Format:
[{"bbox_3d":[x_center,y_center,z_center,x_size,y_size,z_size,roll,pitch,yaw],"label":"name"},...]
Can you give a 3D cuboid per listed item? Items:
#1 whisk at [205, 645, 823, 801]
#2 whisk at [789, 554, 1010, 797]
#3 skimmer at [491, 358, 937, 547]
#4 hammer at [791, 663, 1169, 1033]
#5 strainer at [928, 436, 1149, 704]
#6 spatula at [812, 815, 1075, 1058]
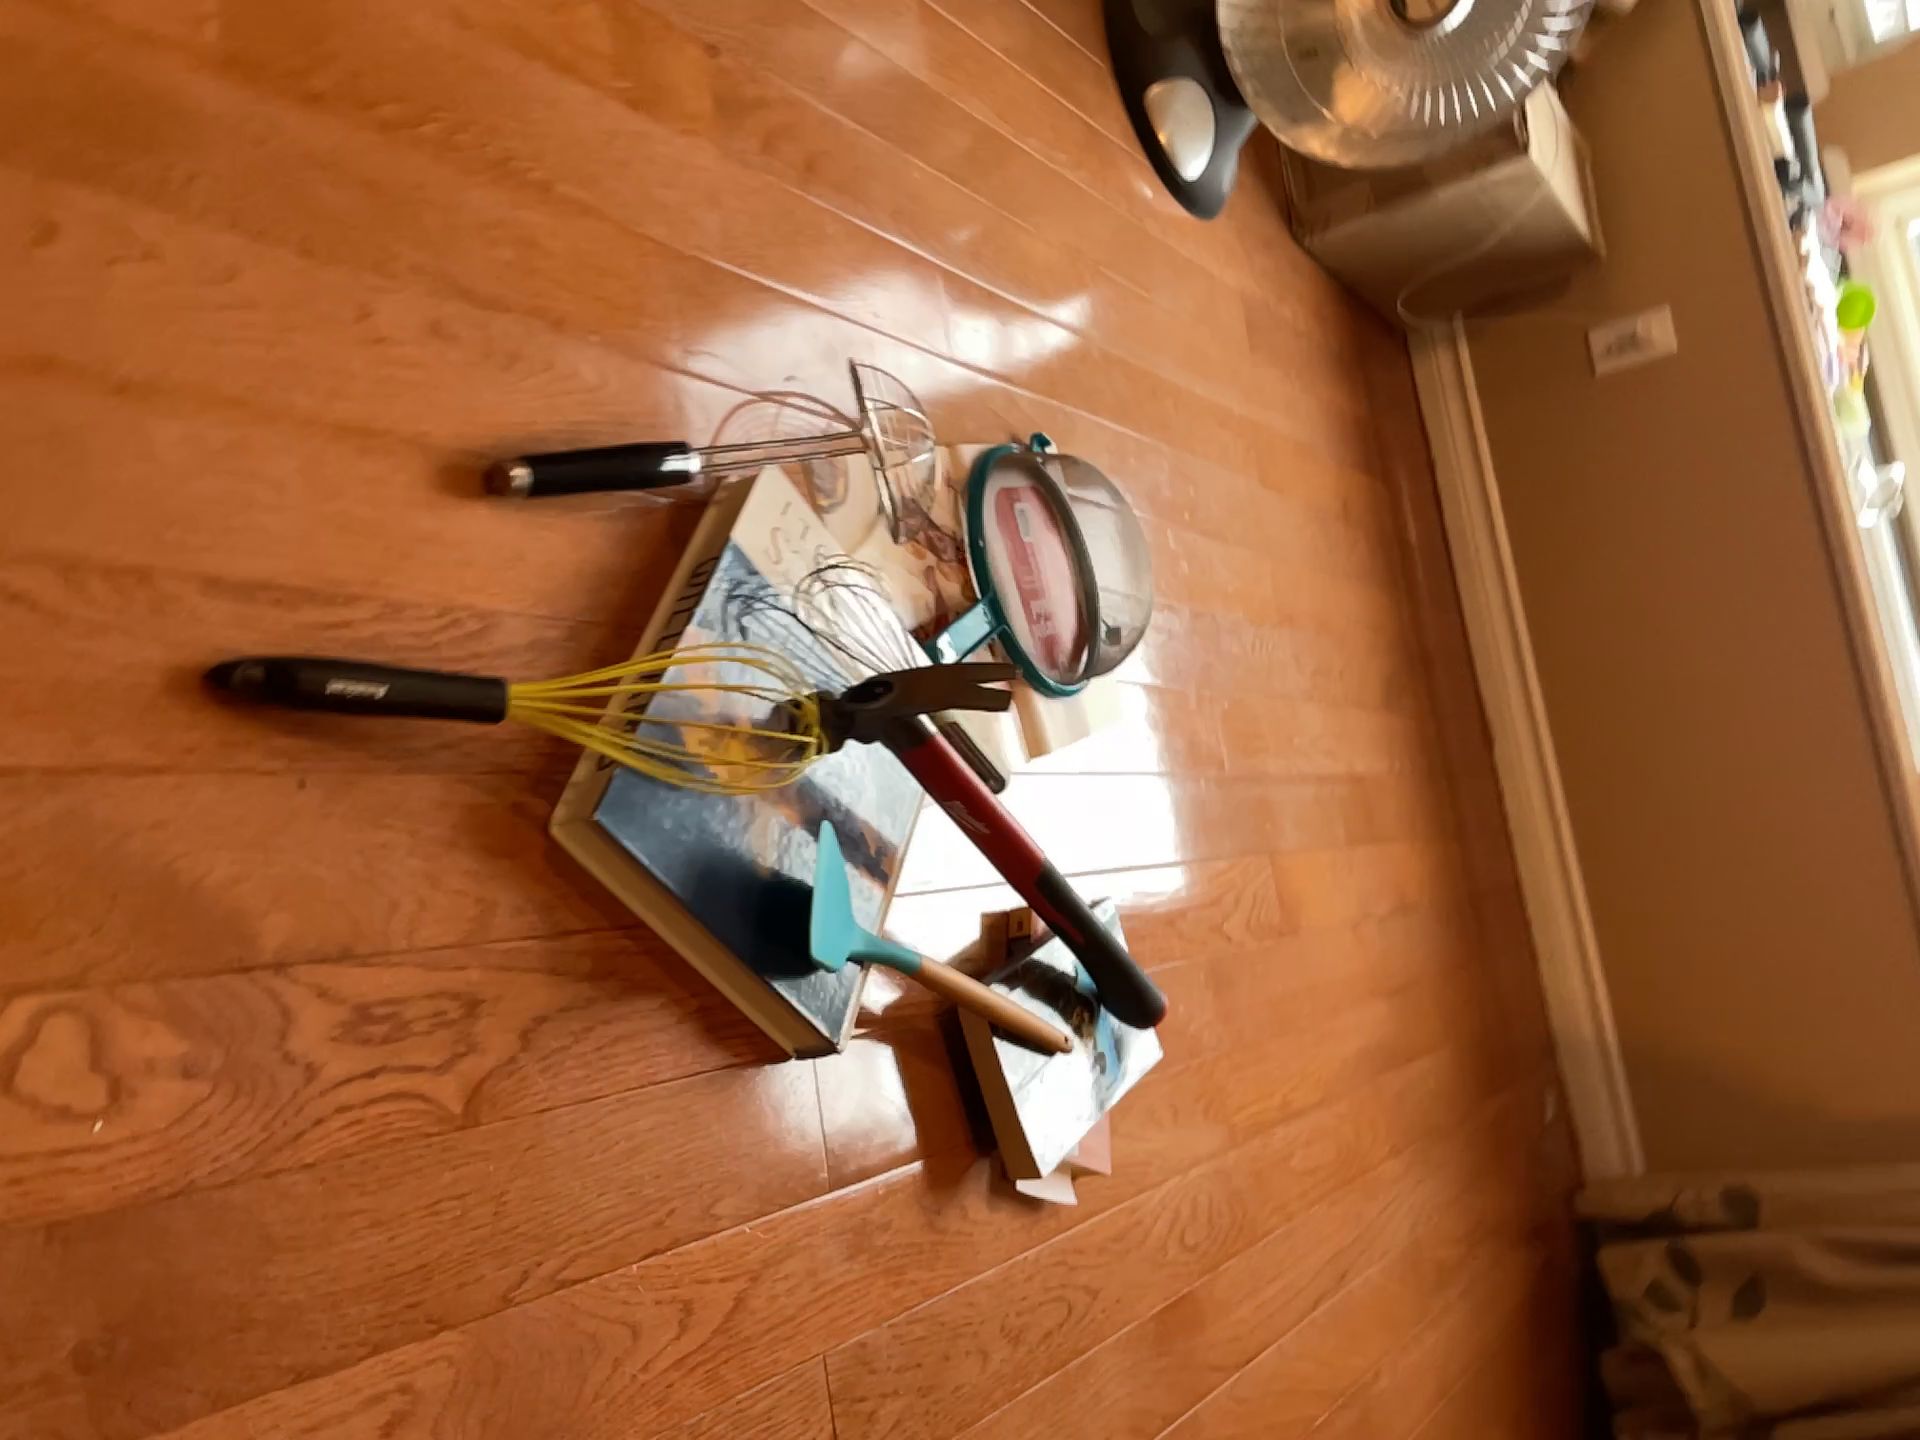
[{"bbox_3d":[-0.194,-0.007,0.755,0.312,0.067,0.080,6,88,-42],"label":"whisk"},{"bbox_3d":[-0.030,-0.020,1.003,0.246,0.057,0.059,50,9,-43],"label":"whisk"},{"bbox_3d":[-0.138,-0.152,0.962,0.364,0.090,0.127,-17,95,-48],"label":"skimmer"},{"bbox_3d":[0.056,0.095,1.012,0.386,0.143,0.038,50,43,-40],"label":"hammer"},{"bbox_3d":[0.072,-0.103,1.196,0.211,0.095,0.341,69,25,-13],"label":"strainer"},{"bbox_3d":[-0.005,0.155,0.964,0.317,0.044,0.082,37,47,-46],"label":"spatula"}]
